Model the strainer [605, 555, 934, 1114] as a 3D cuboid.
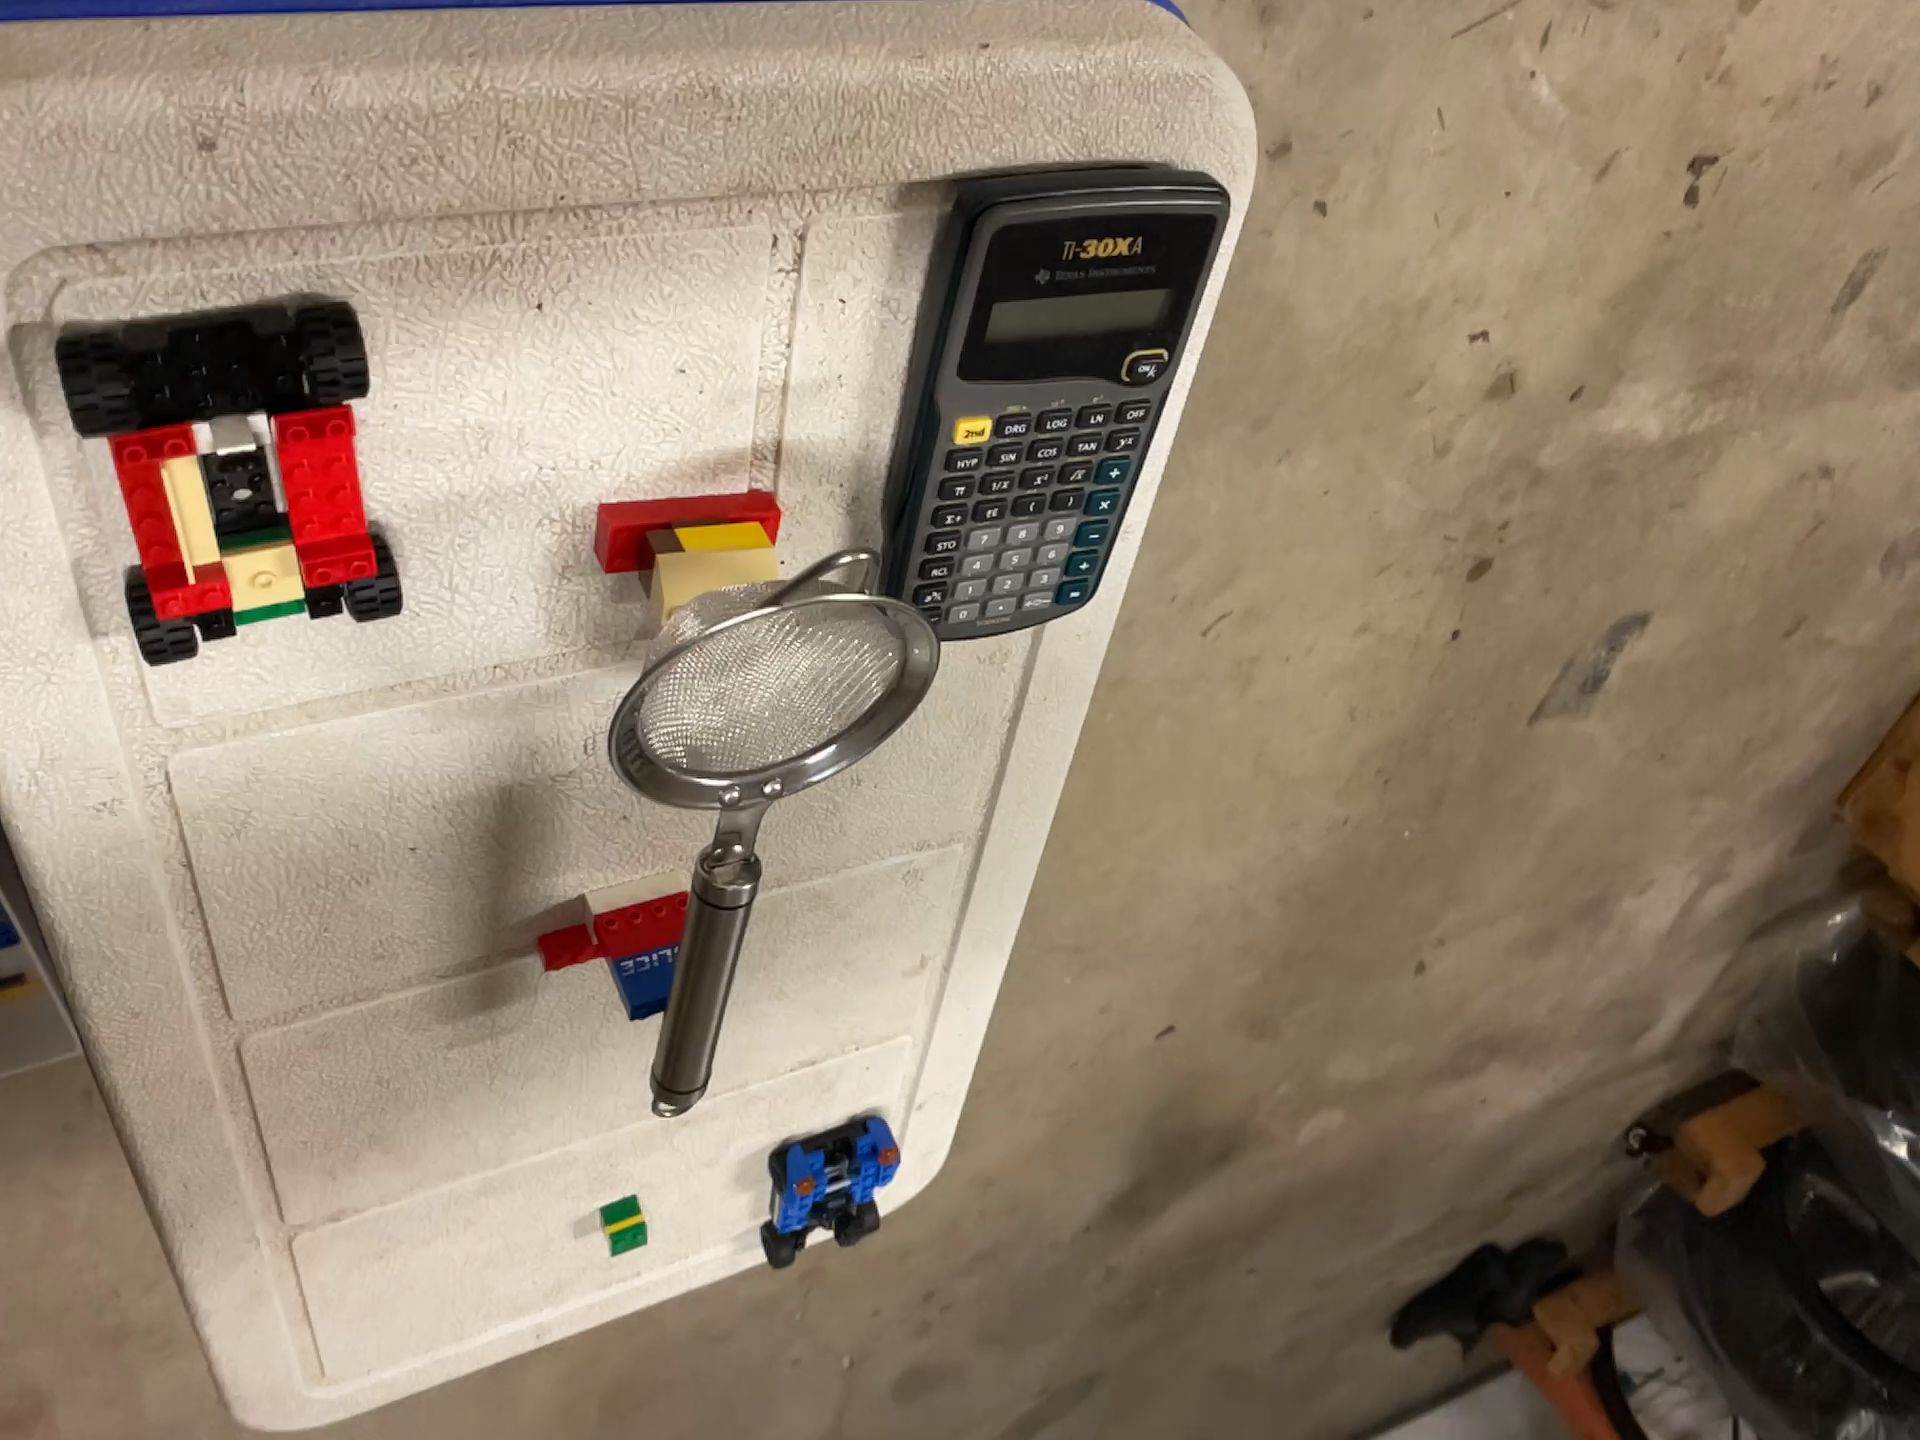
[{"bbox_3d":[-0.067,0.039,0.454,0.087,0.050,0.258,-8,138,-28],"label":"strainer"}]
